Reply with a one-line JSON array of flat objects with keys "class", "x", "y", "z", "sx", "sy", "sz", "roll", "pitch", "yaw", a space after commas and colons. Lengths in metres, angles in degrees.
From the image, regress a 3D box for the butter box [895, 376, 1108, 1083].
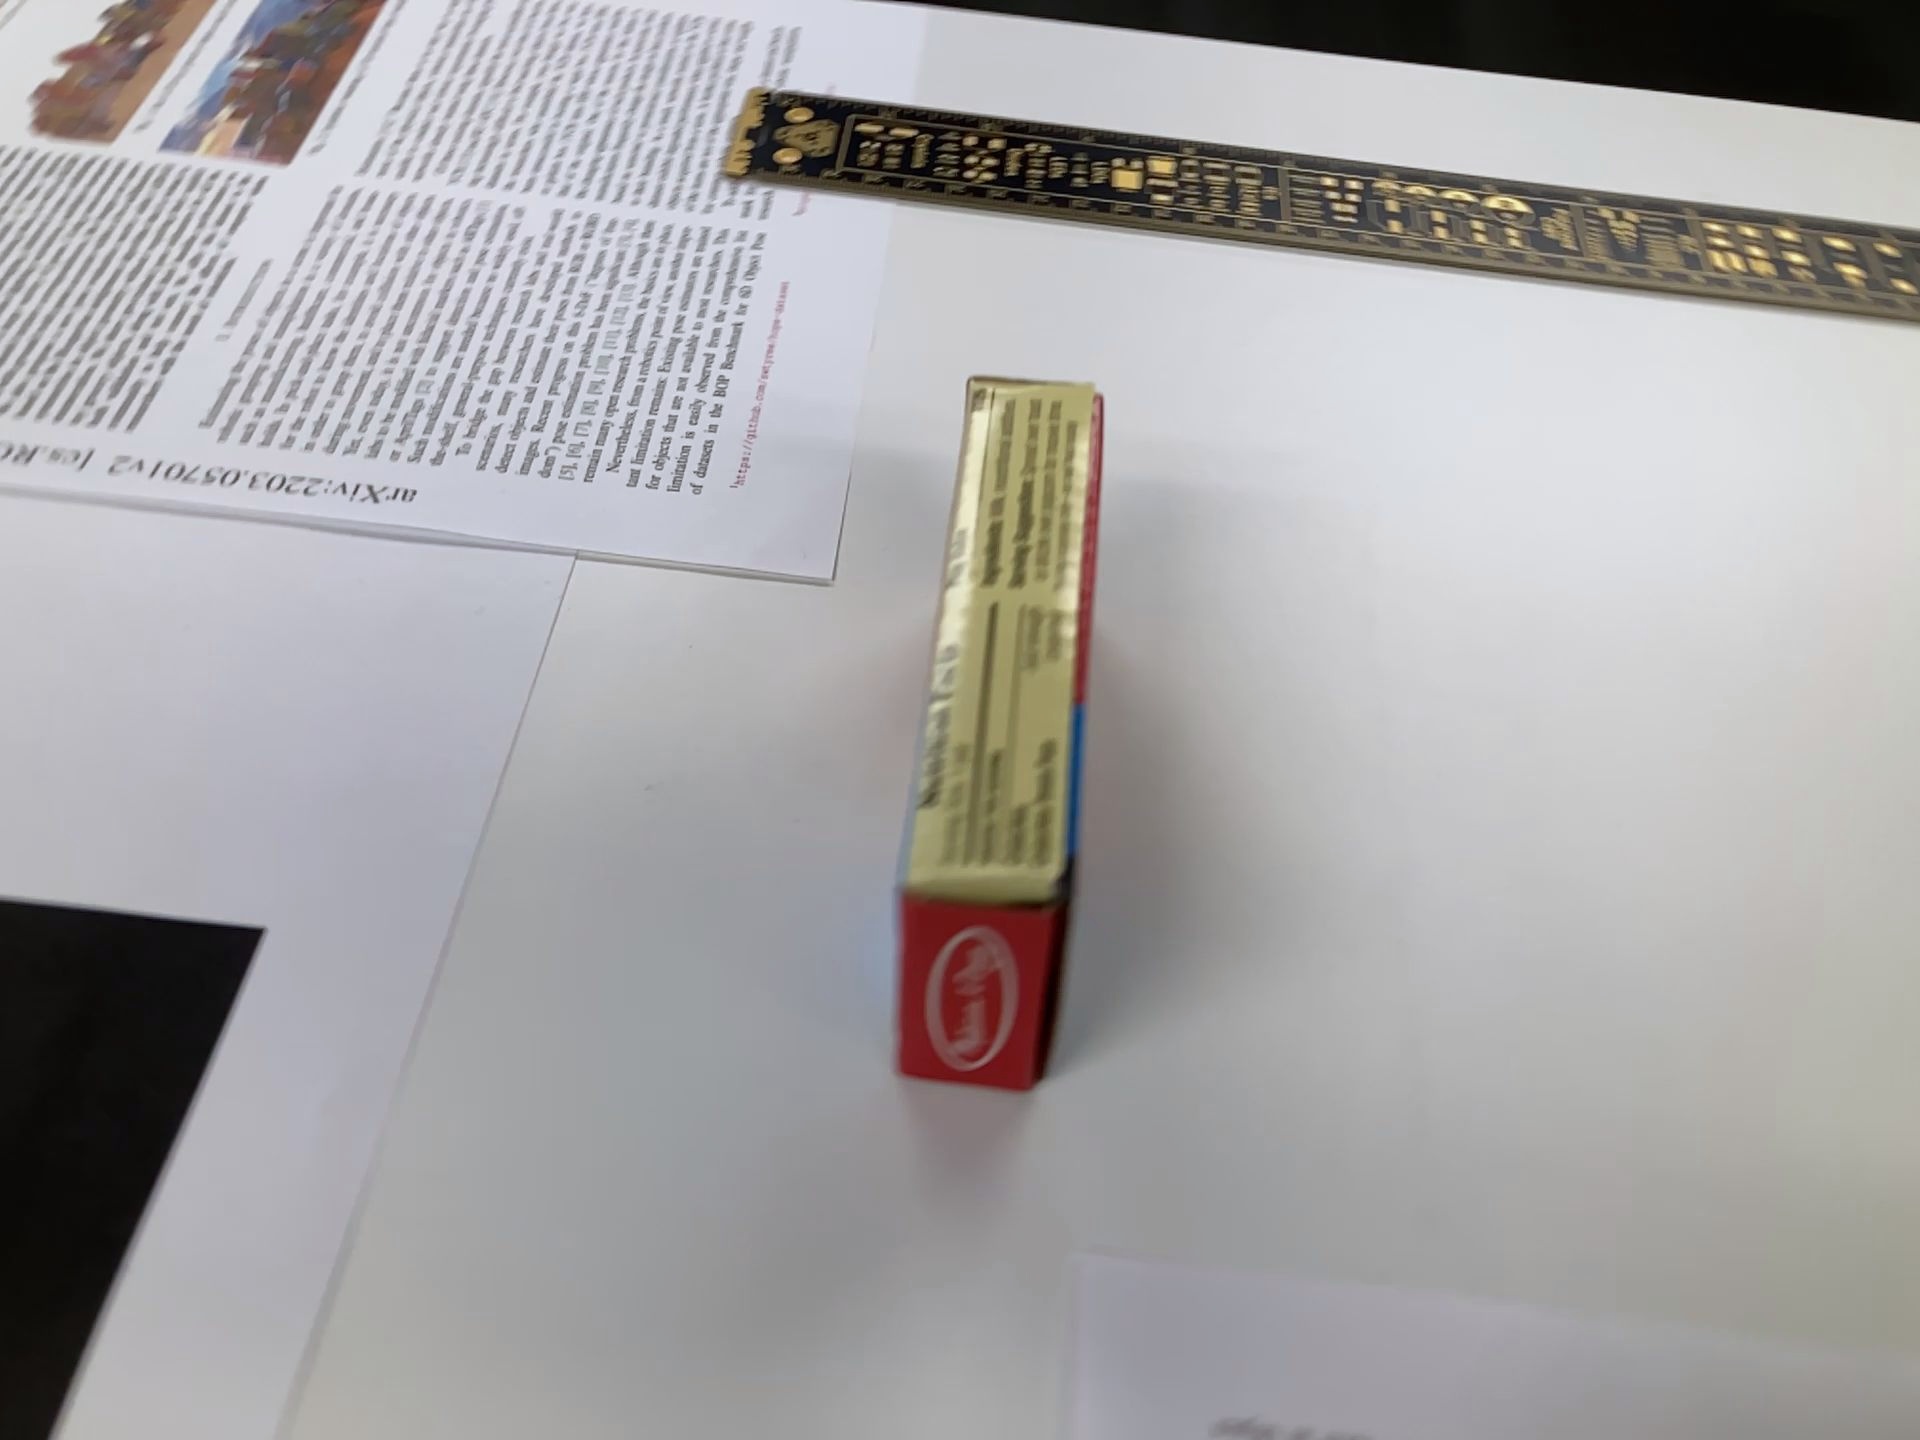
[{"class": "butter box", "x": 0.008, "y": -0.002, "z": 0.249, "sx": 0.024, "sy": 0.053, "sz": 0.103, "roll": 5, "pitch": 51, "yaw": 2}]
